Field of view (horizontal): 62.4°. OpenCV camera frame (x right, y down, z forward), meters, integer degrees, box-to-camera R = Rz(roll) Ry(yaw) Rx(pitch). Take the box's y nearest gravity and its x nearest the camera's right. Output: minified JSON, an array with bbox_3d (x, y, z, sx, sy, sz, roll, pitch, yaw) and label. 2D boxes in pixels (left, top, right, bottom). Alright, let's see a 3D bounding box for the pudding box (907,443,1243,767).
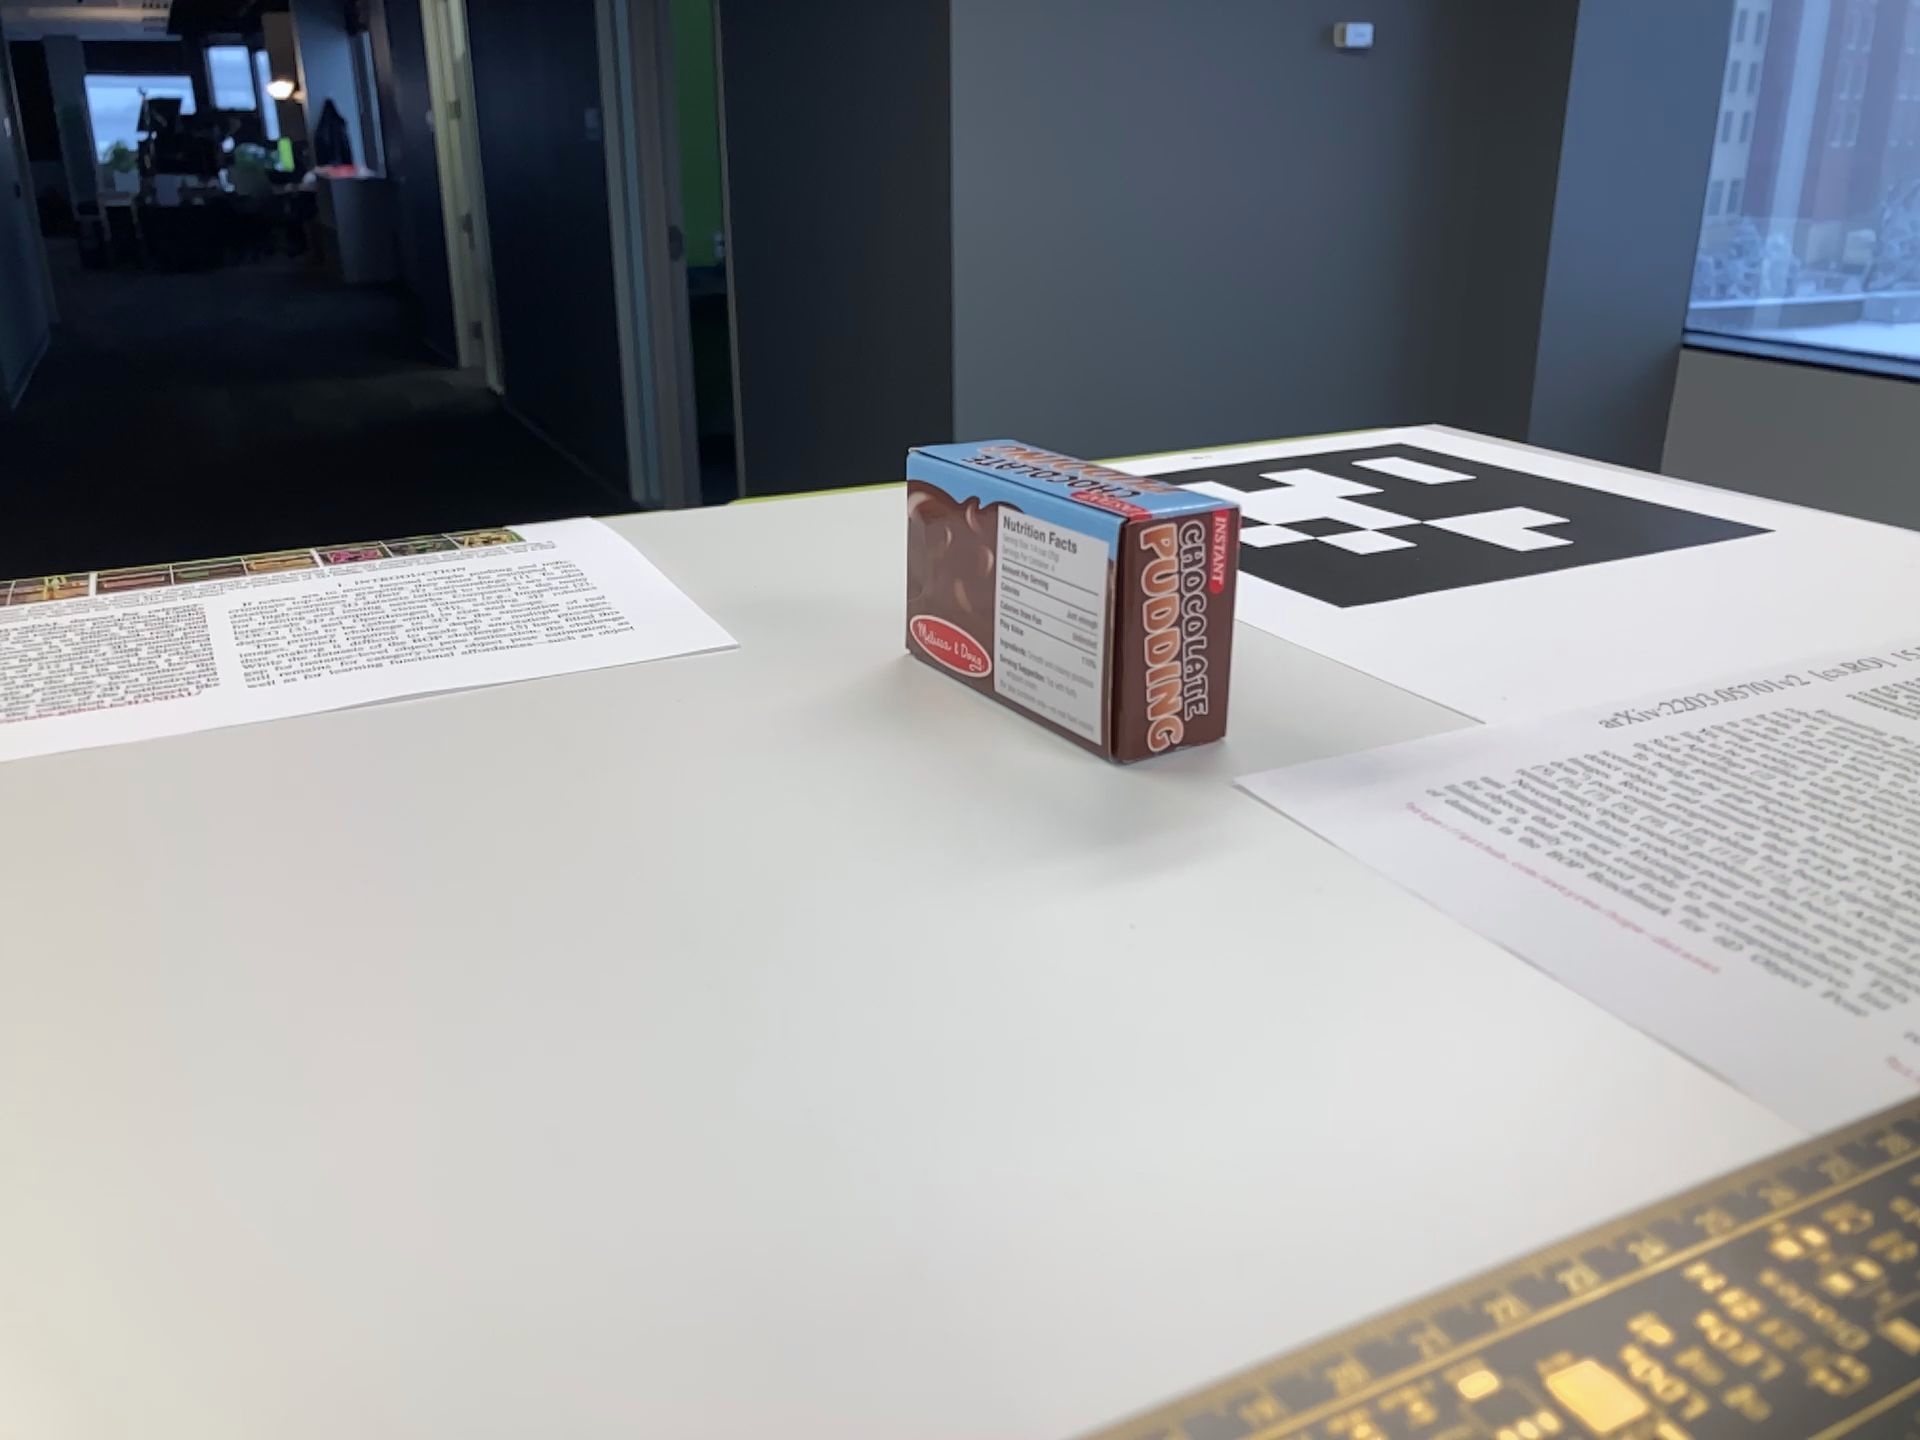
[{"bbox_3d":[0.020,-0.028,0.331,0.030,0.049,0.083,-10,21,-29],"label":"pudding box"}]
